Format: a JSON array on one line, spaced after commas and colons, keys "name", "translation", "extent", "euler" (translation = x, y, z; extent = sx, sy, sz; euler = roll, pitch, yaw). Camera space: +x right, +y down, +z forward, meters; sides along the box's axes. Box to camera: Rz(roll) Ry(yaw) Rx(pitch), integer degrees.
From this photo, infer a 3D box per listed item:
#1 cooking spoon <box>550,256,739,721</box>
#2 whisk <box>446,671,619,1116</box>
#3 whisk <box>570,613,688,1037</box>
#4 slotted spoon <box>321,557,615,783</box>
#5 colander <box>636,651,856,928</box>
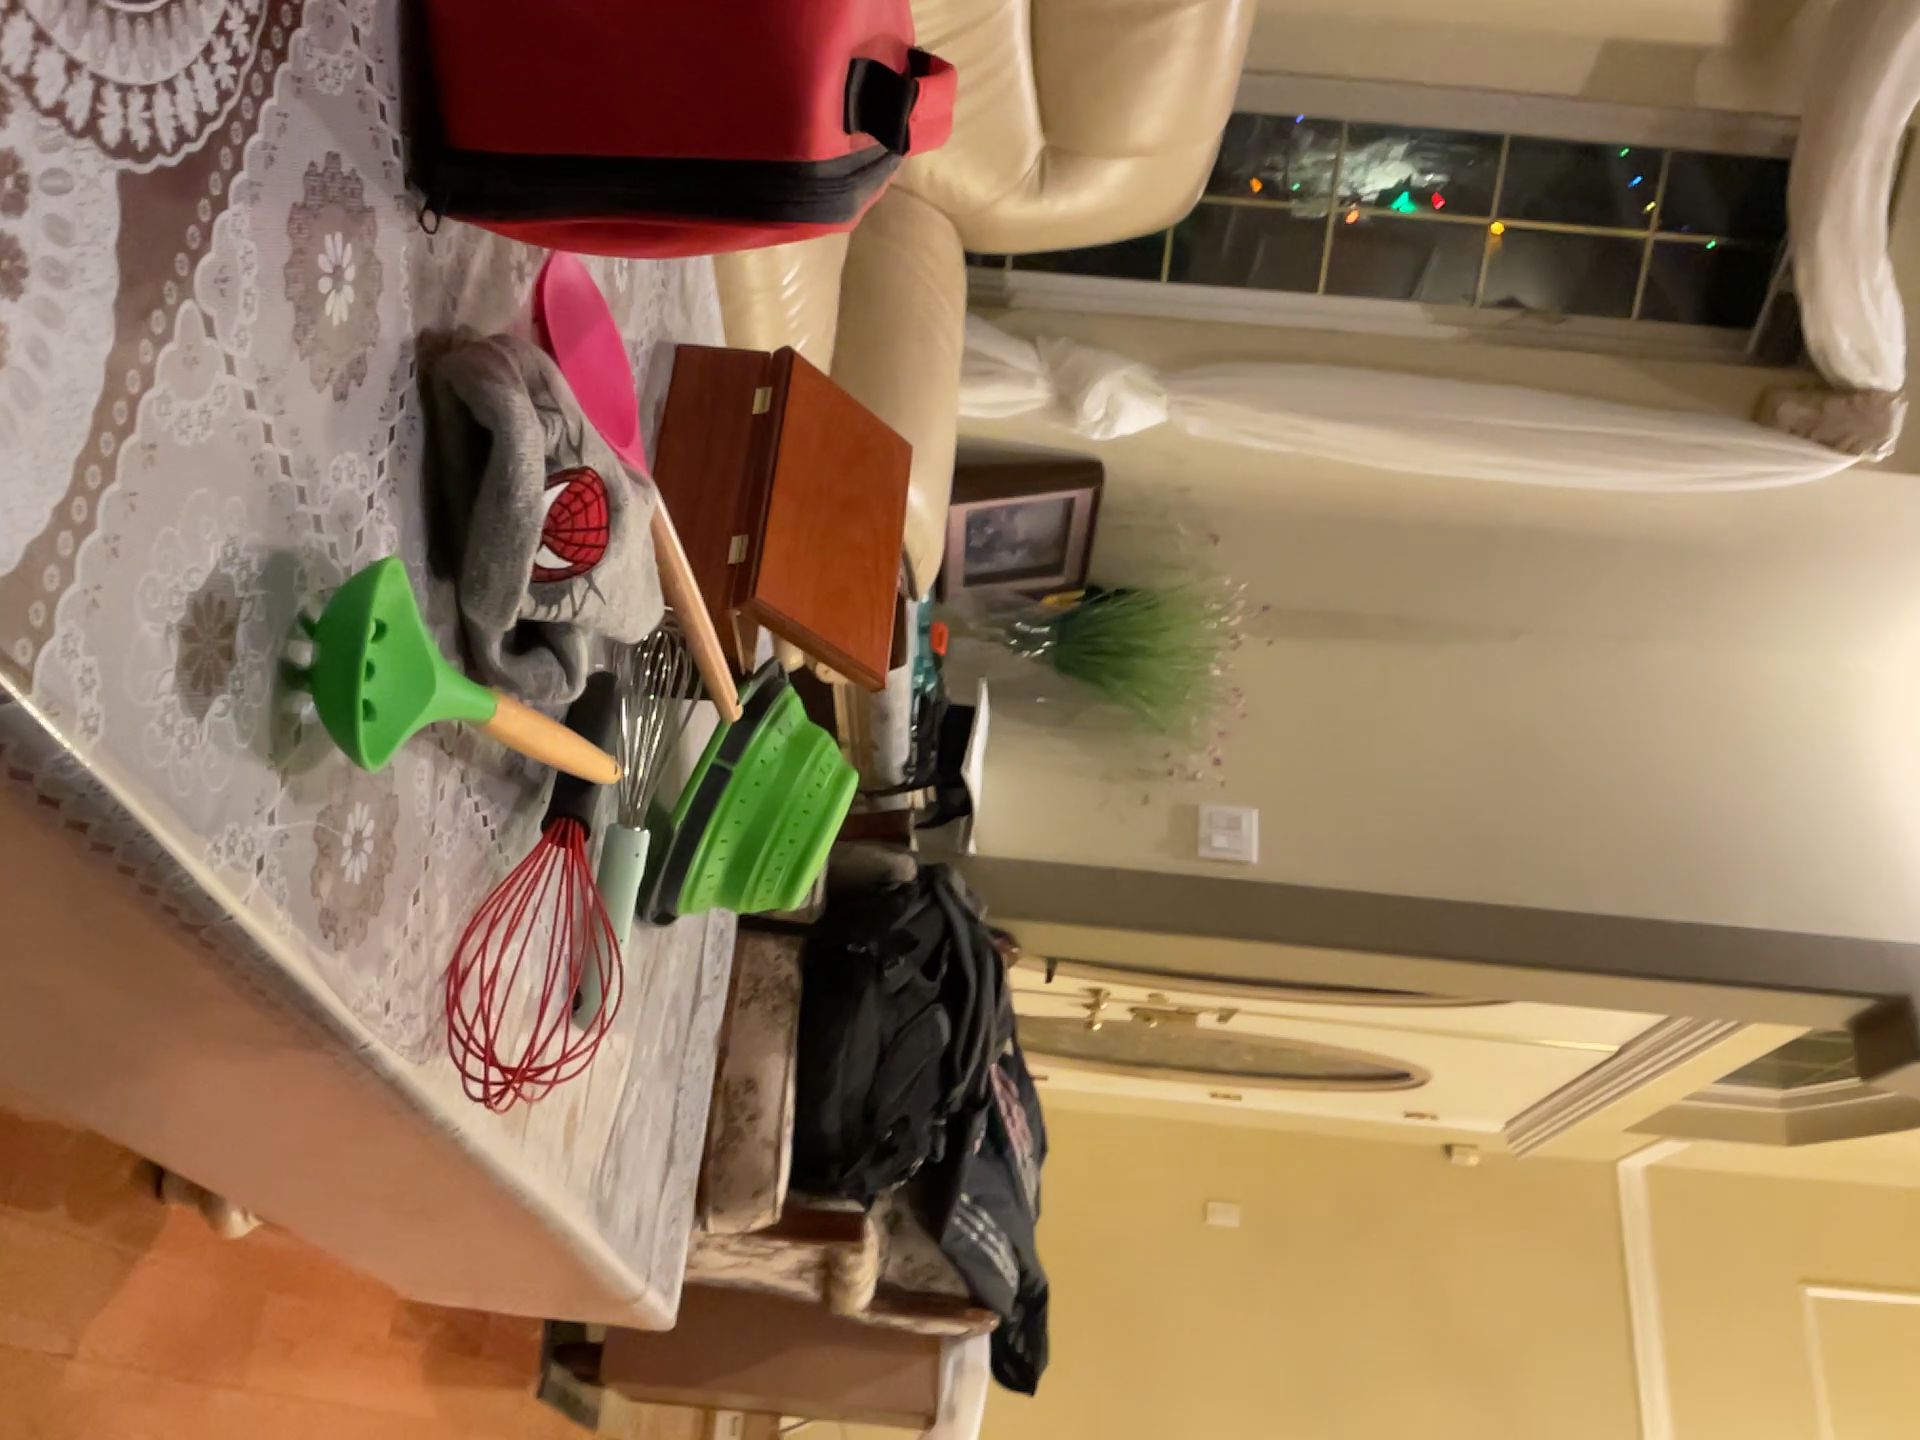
[{"name": "cooking spoon", "translation": [-0.160, -0.105, 0.835], "extent": [0.318, 0.017, 0.069], "euler": [78, 15, -49]}, {"name": "whisk", "translation": [-0.185, 0.063, 0.741], "extent": [0.296, 0.073, 0.073], "euler": [-96, -177, -55]}, {"name": "whisk", "translation": [-0.193, 0.055, 0.905], "extent": [0.057, 0.059, 0.246], "euler": [16, 78, -47]}, {"name": "slotted spoon", "translation": [-0.181, 0.001, 0.627], "extent": [0.313, 0.031, 0.070], "euler": [77, 17, -81]}, {"name": "colander", "translation": [-0.144, 0.085, 1.162], "extent": [0.397, 0.094, 0.205], "euler": [117, -2, -73]}]
